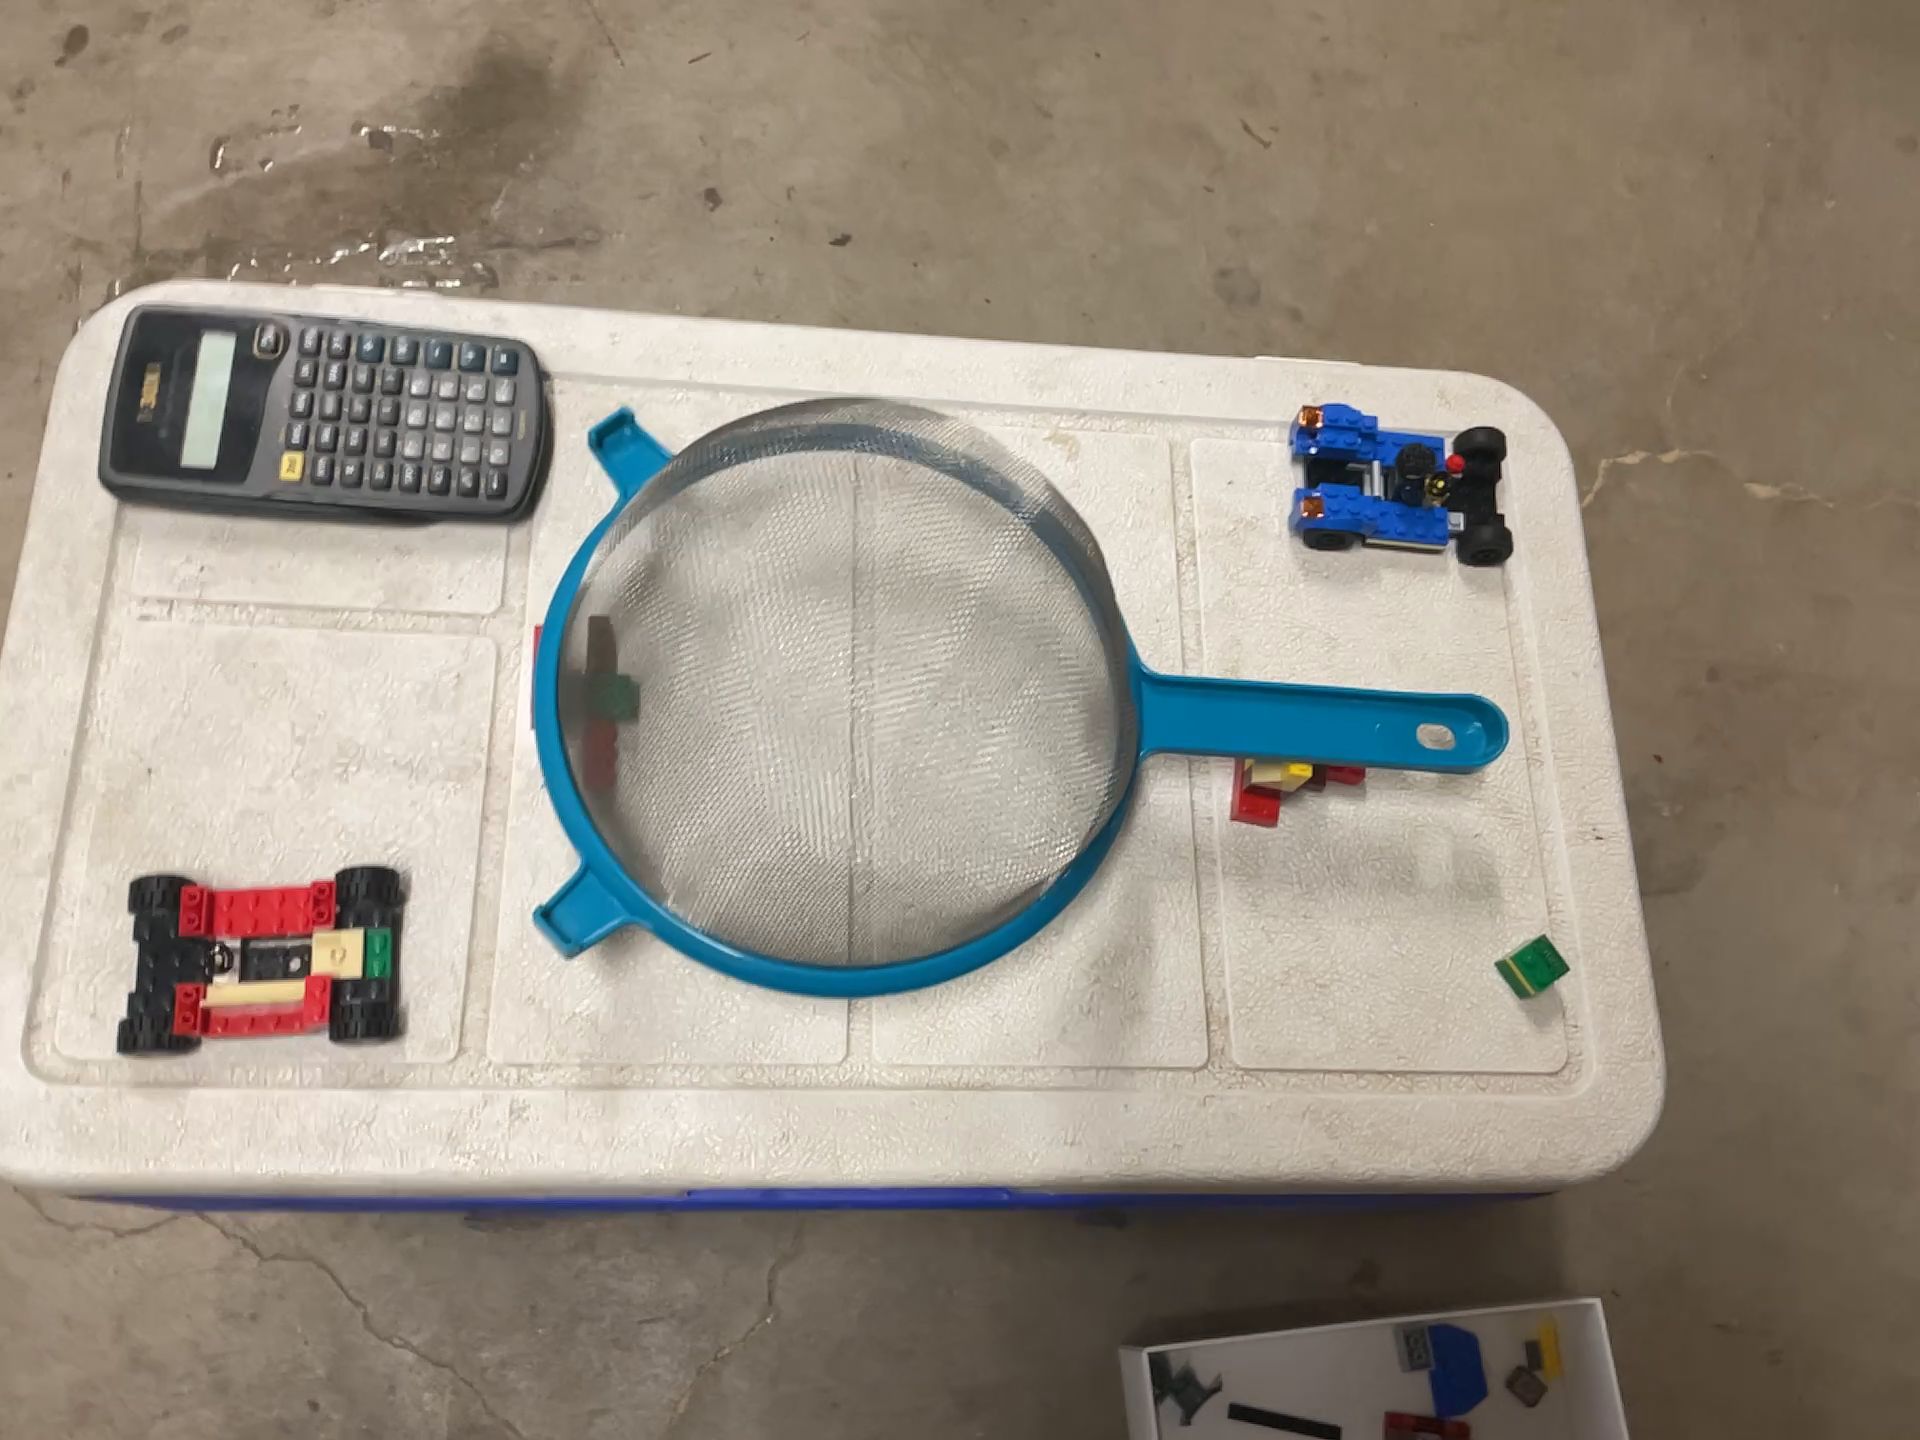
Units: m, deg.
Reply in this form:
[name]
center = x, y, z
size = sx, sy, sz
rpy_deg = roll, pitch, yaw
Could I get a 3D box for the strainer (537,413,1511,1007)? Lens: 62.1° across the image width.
[strainer]
center = 0.031, -0.016, 0.522
size = 0.340, 0.095, 0.211
rpy_deg = 4, 70, -7
